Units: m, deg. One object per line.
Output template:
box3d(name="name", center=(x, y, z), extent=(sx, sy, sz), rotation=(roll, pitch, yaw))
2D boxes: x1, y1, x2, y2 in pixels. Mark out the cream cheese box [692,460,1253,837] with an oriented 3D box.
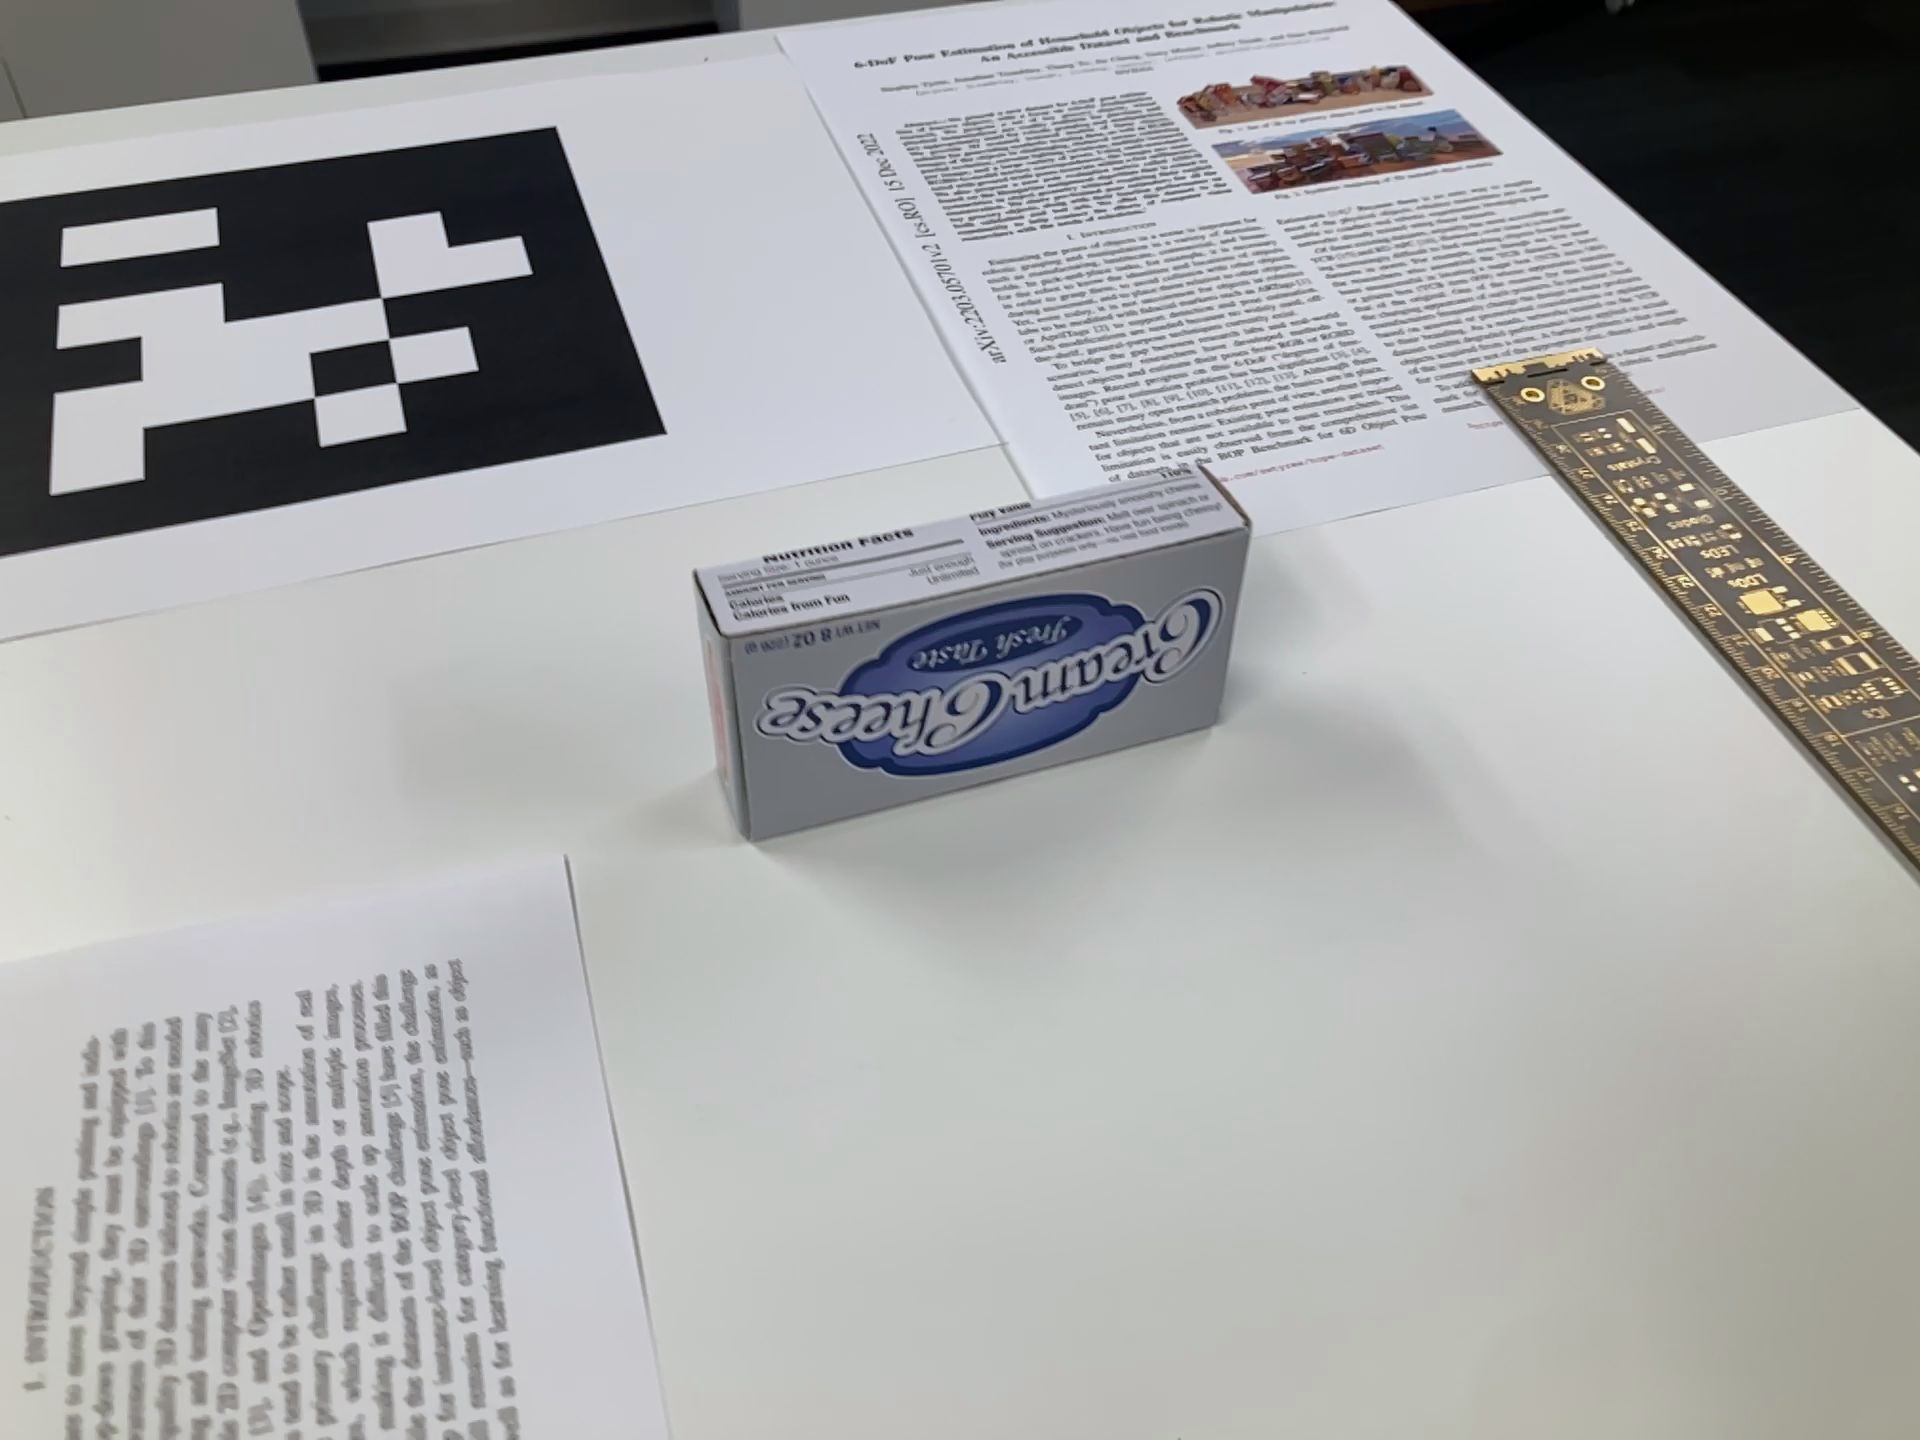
box3d(name="cream cheese box", center=(0.003, -0.014, 0.307), extent=(0.104, 0.053, 0.024), rotation=(-13, 47, -15))
